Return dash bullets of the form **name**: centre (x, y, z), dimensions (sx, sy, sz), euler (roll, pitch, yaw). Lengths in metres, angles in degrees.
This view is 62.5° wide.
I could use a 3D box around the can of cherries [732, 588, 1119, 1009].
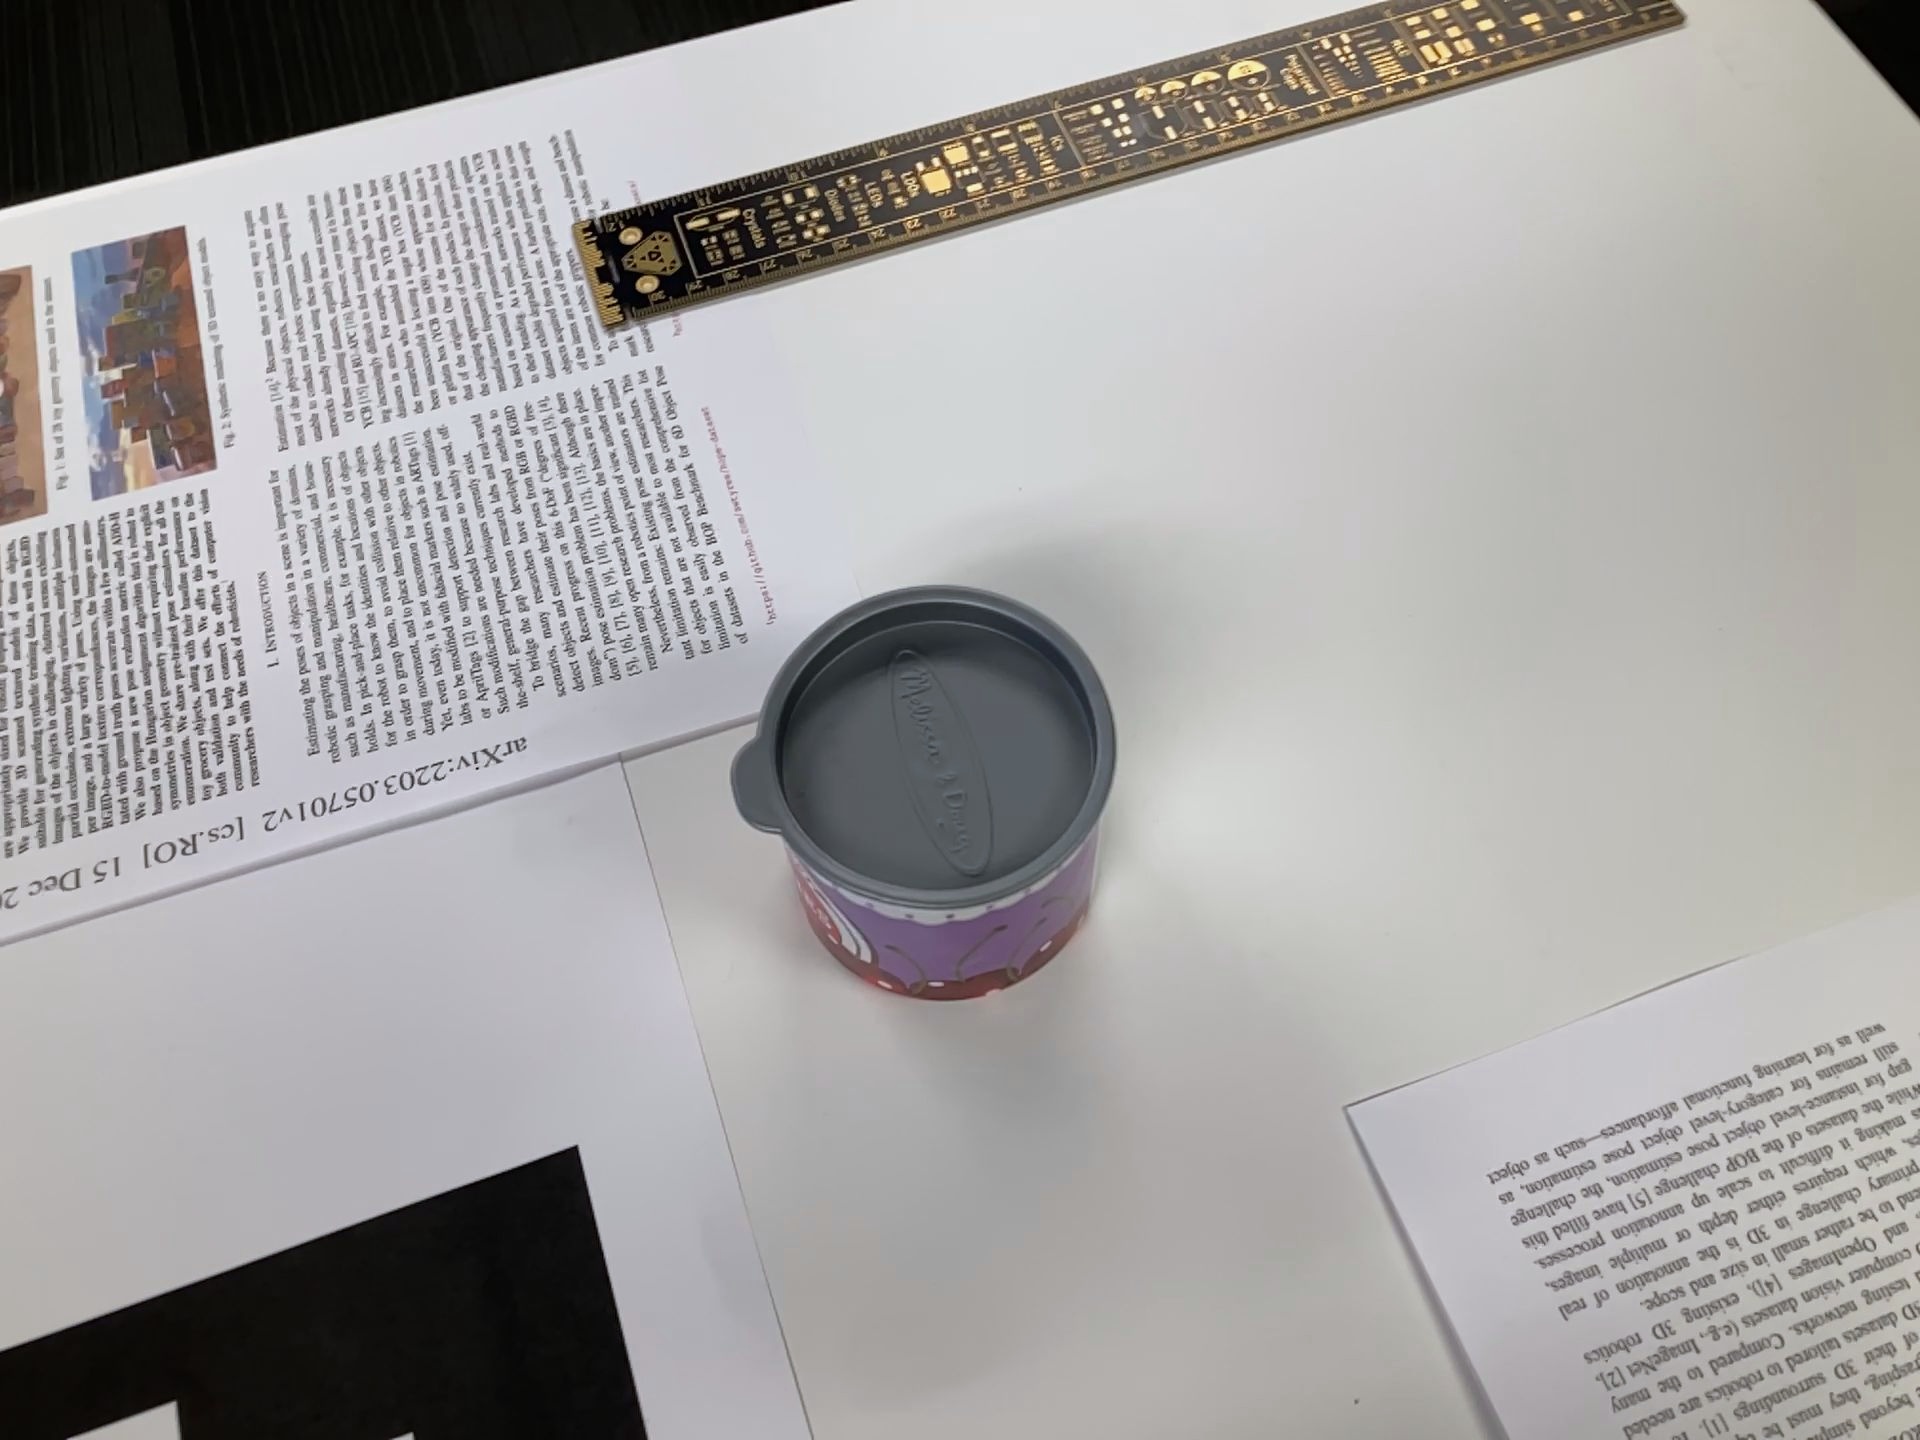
- **can of cherries**: centre (-0.006, 0.018, 0.312), dimensions (0.071, 0.058, 0.071), euler (-1, 62, 1)
